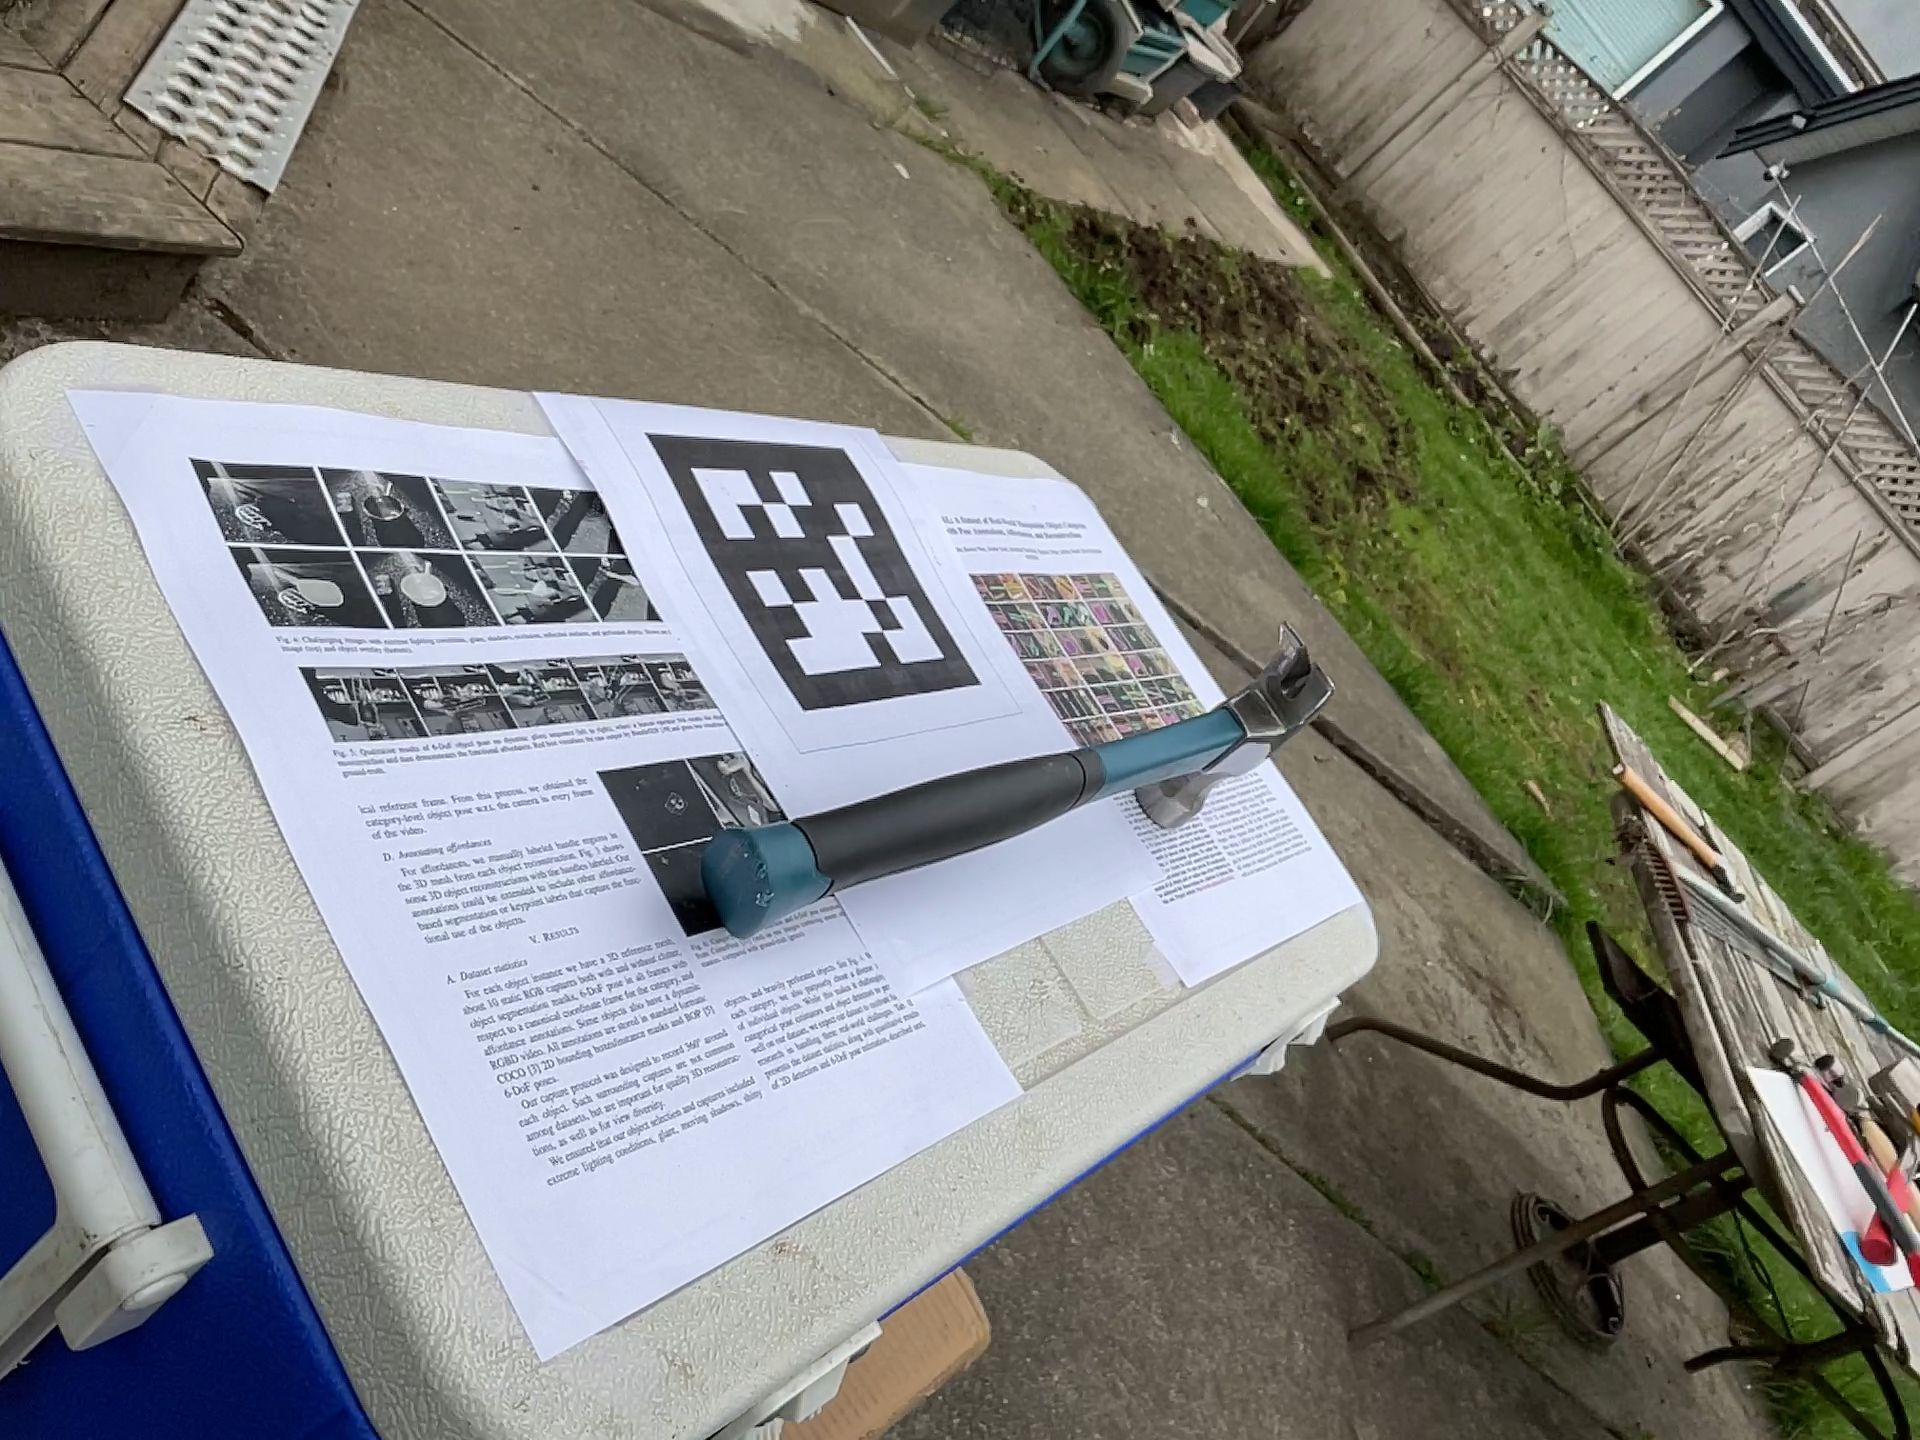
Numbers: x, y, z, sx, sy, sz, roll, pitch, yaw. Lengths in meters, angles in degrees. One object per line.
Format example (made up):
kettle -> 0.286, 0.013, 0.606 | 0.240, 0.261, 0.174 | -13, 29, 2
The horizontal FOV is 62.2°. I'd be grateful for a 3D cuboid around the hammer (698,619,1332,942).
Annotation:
hammer -> 0.034, 0.025, 0.585 | 0.331, 0.128, 0.033 | -13, 64, -50
